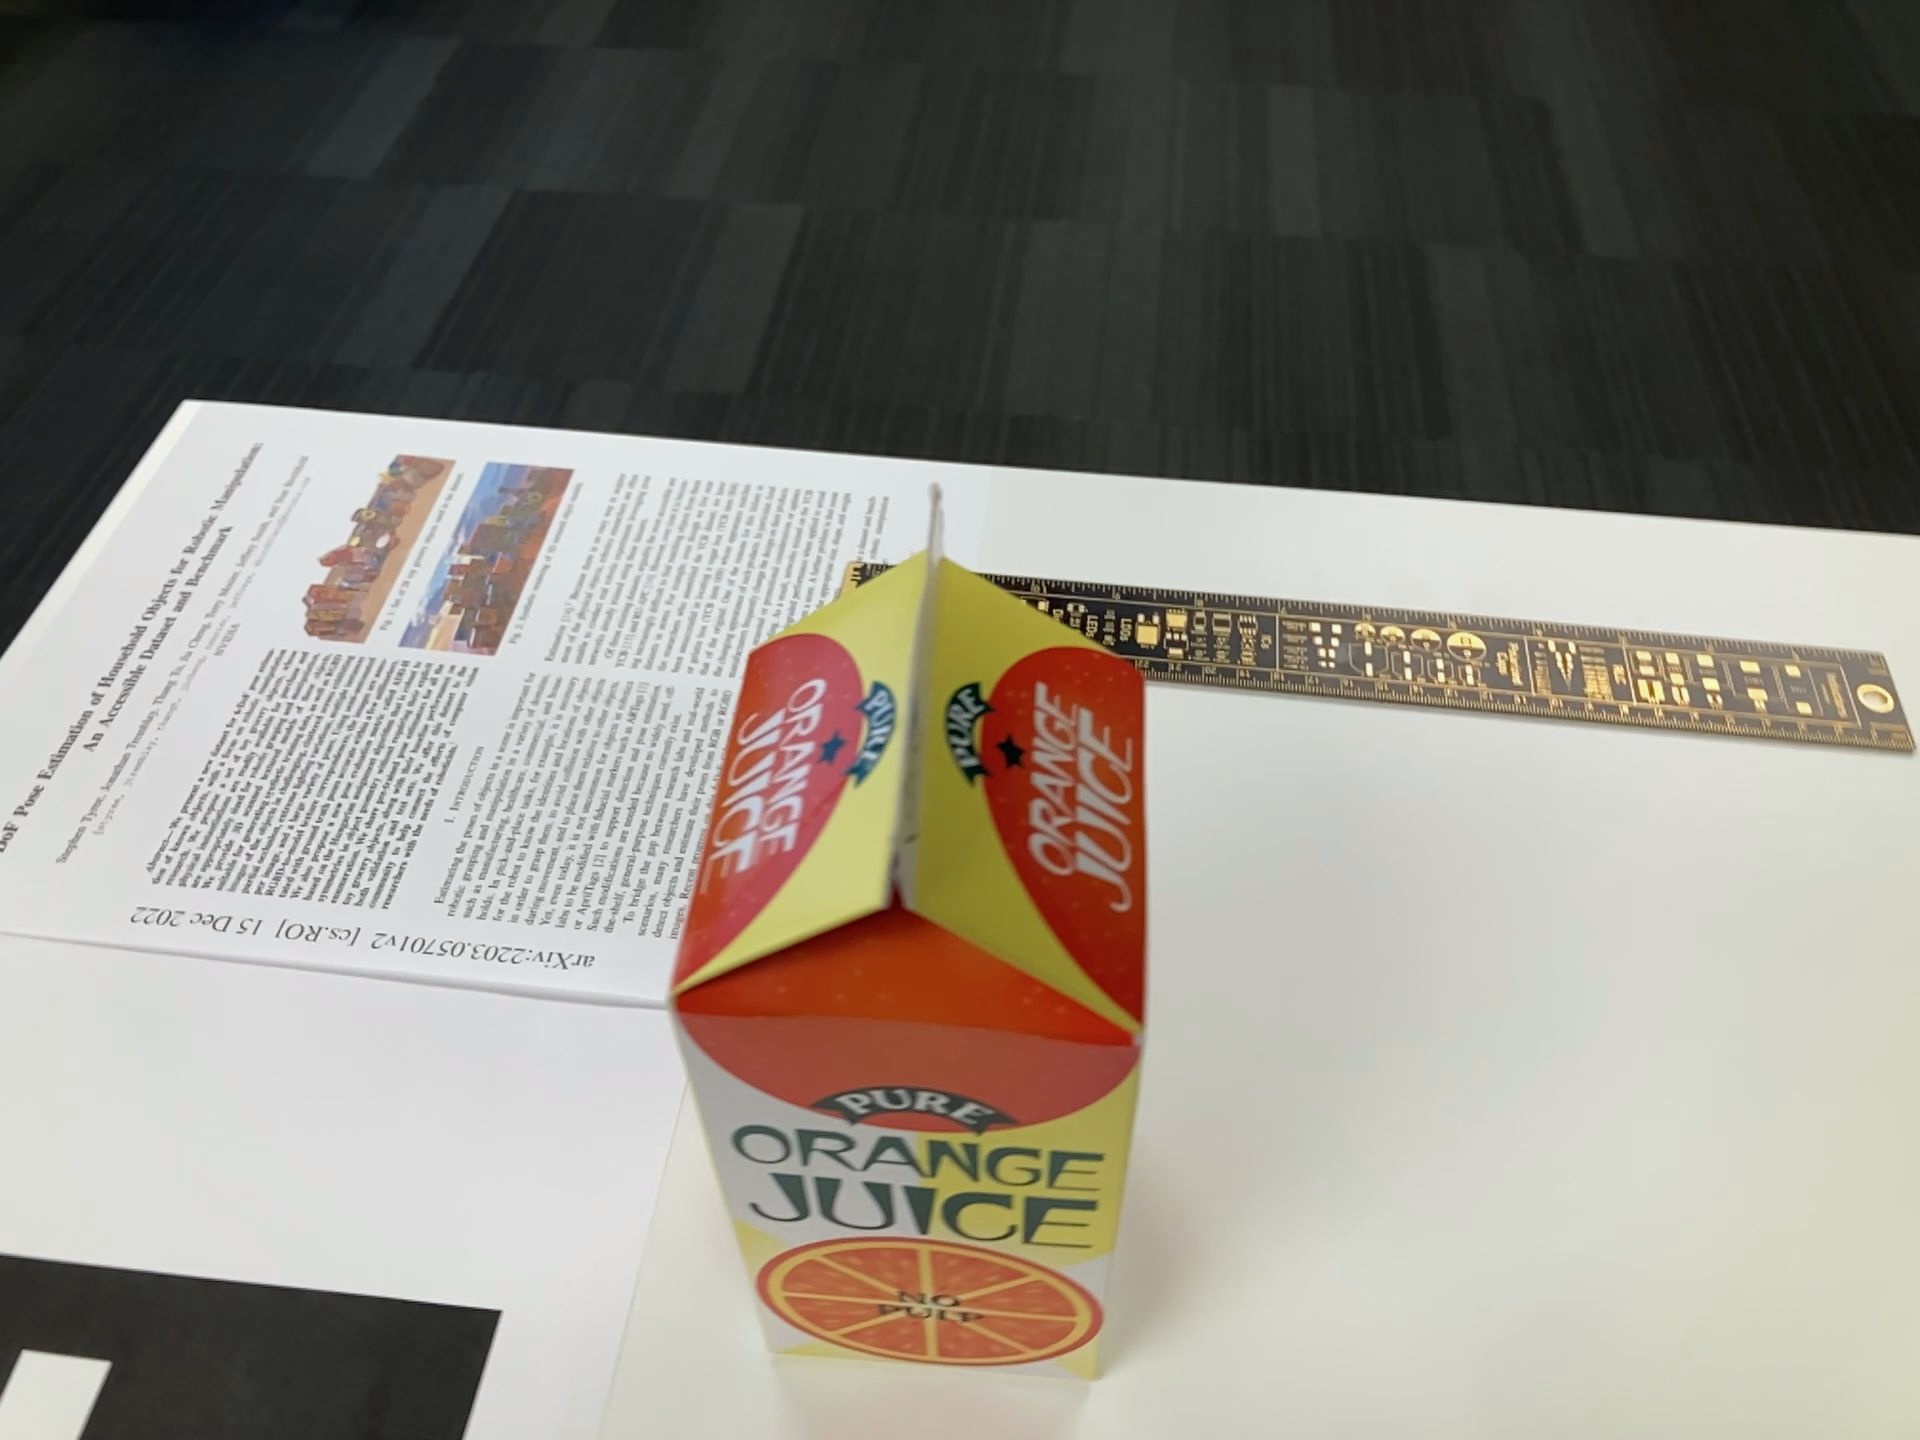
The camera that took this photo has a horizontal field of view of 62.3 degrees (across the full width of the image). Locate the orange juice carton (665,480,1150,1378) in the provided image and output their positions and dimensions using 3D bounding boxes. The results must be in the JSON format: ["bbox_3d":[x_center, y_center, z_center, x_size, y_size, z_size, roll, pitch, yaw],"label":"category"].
[{"bbox_3d":[-0.004,0.051,0.292,0.073,0.192,0.072,3,50,4],"label":"orange juice carton"}]
